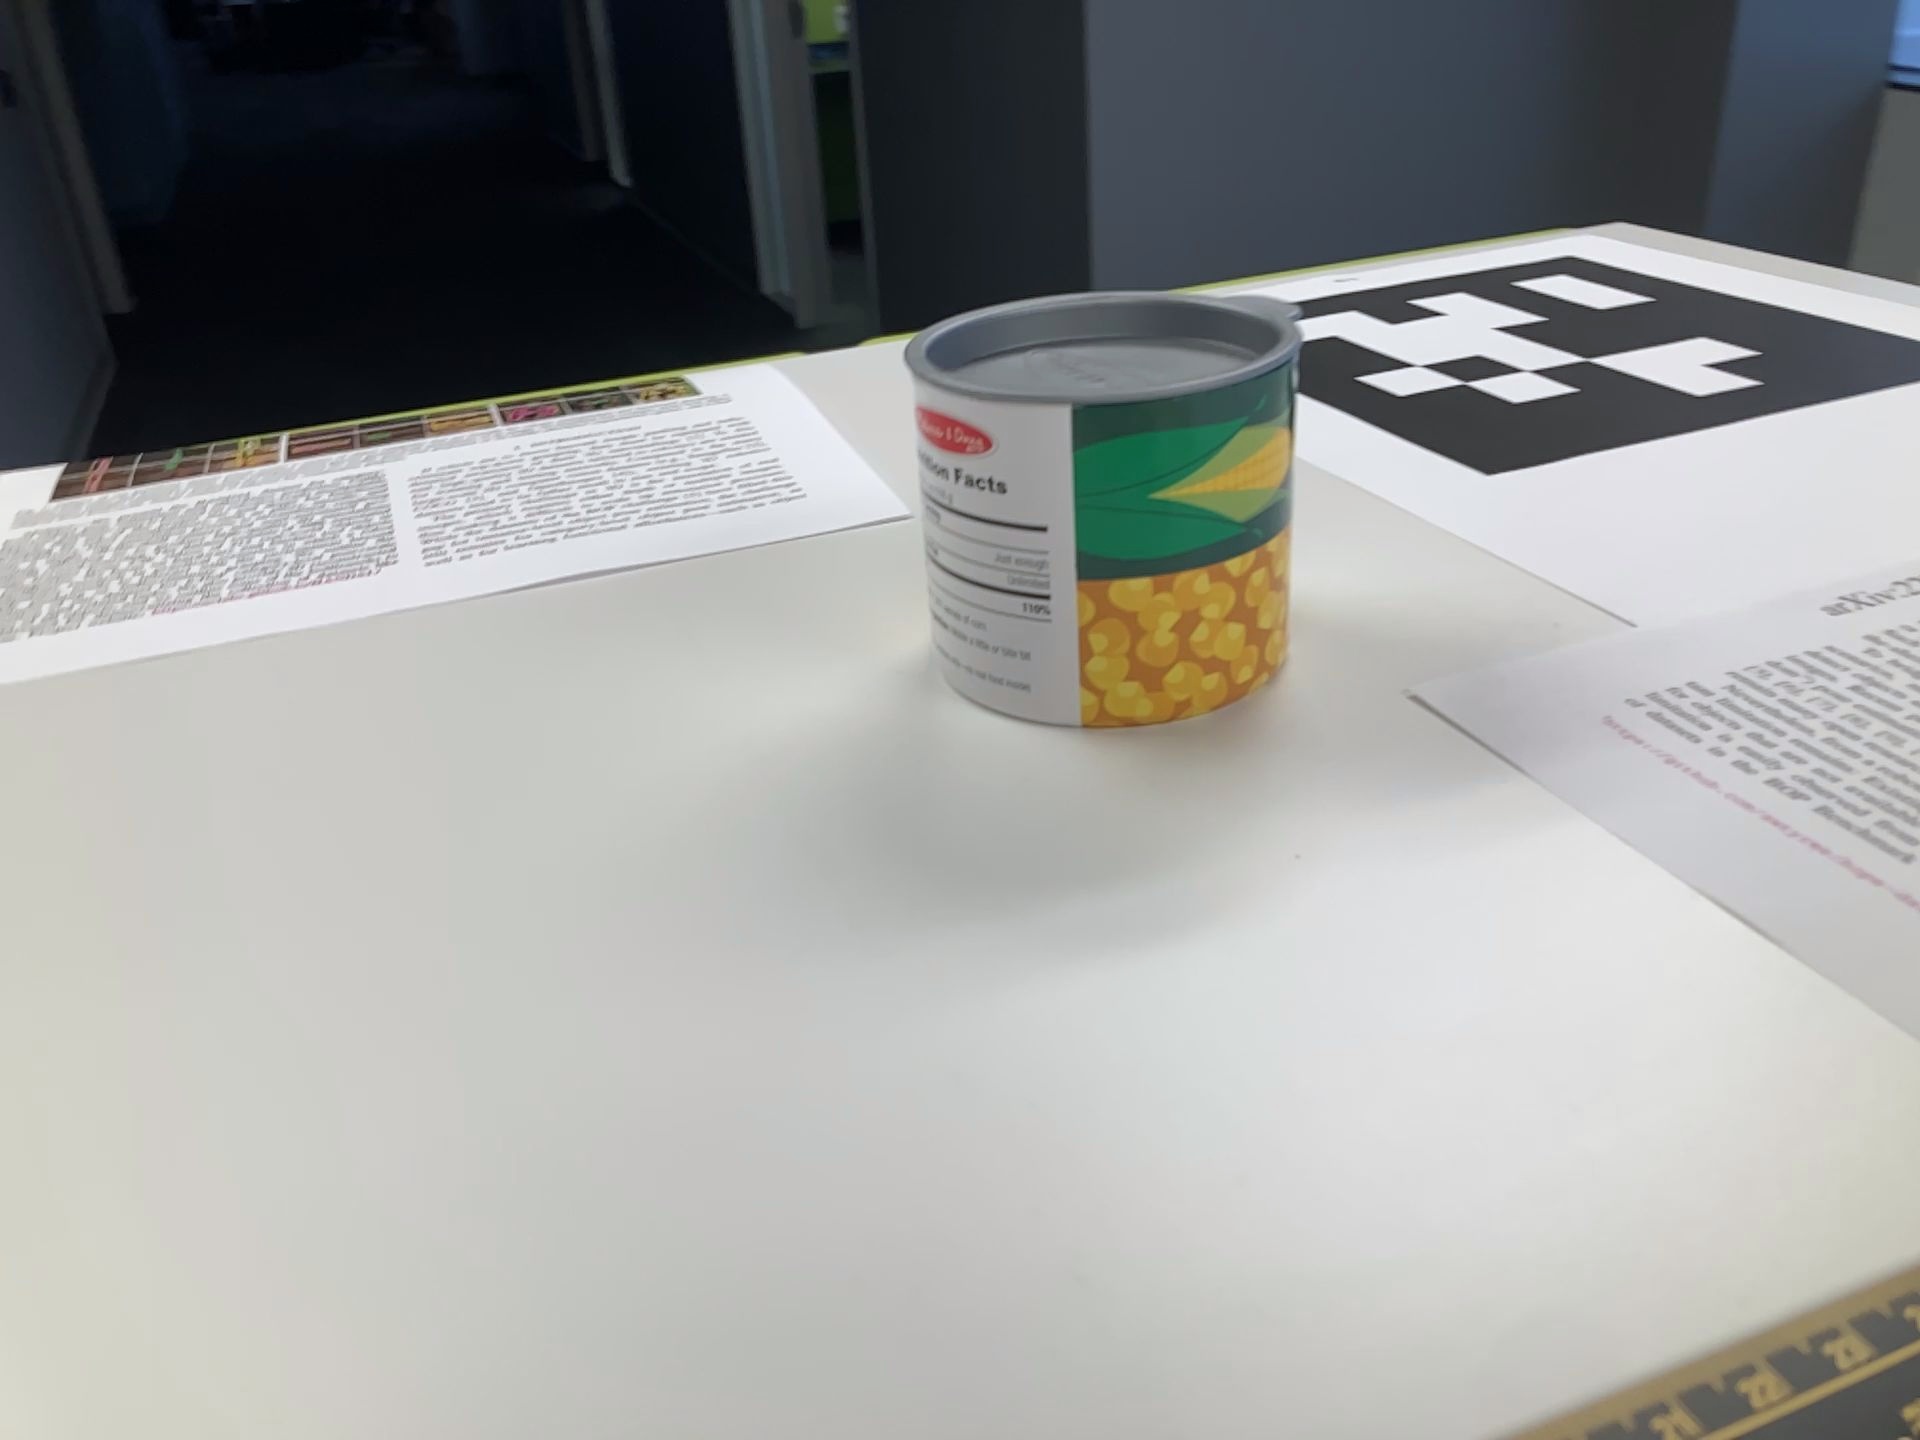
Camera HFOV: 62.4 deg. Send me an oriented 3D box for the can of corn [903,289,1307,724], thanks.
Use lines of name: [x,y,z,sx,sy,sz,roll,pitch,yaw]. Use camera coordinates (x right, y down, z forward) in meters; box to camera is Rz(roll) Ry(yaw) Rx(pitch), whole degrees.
can of corn: [0.028,-0.040,0.278,0.071,0.058,0.071,-3,27,2]
